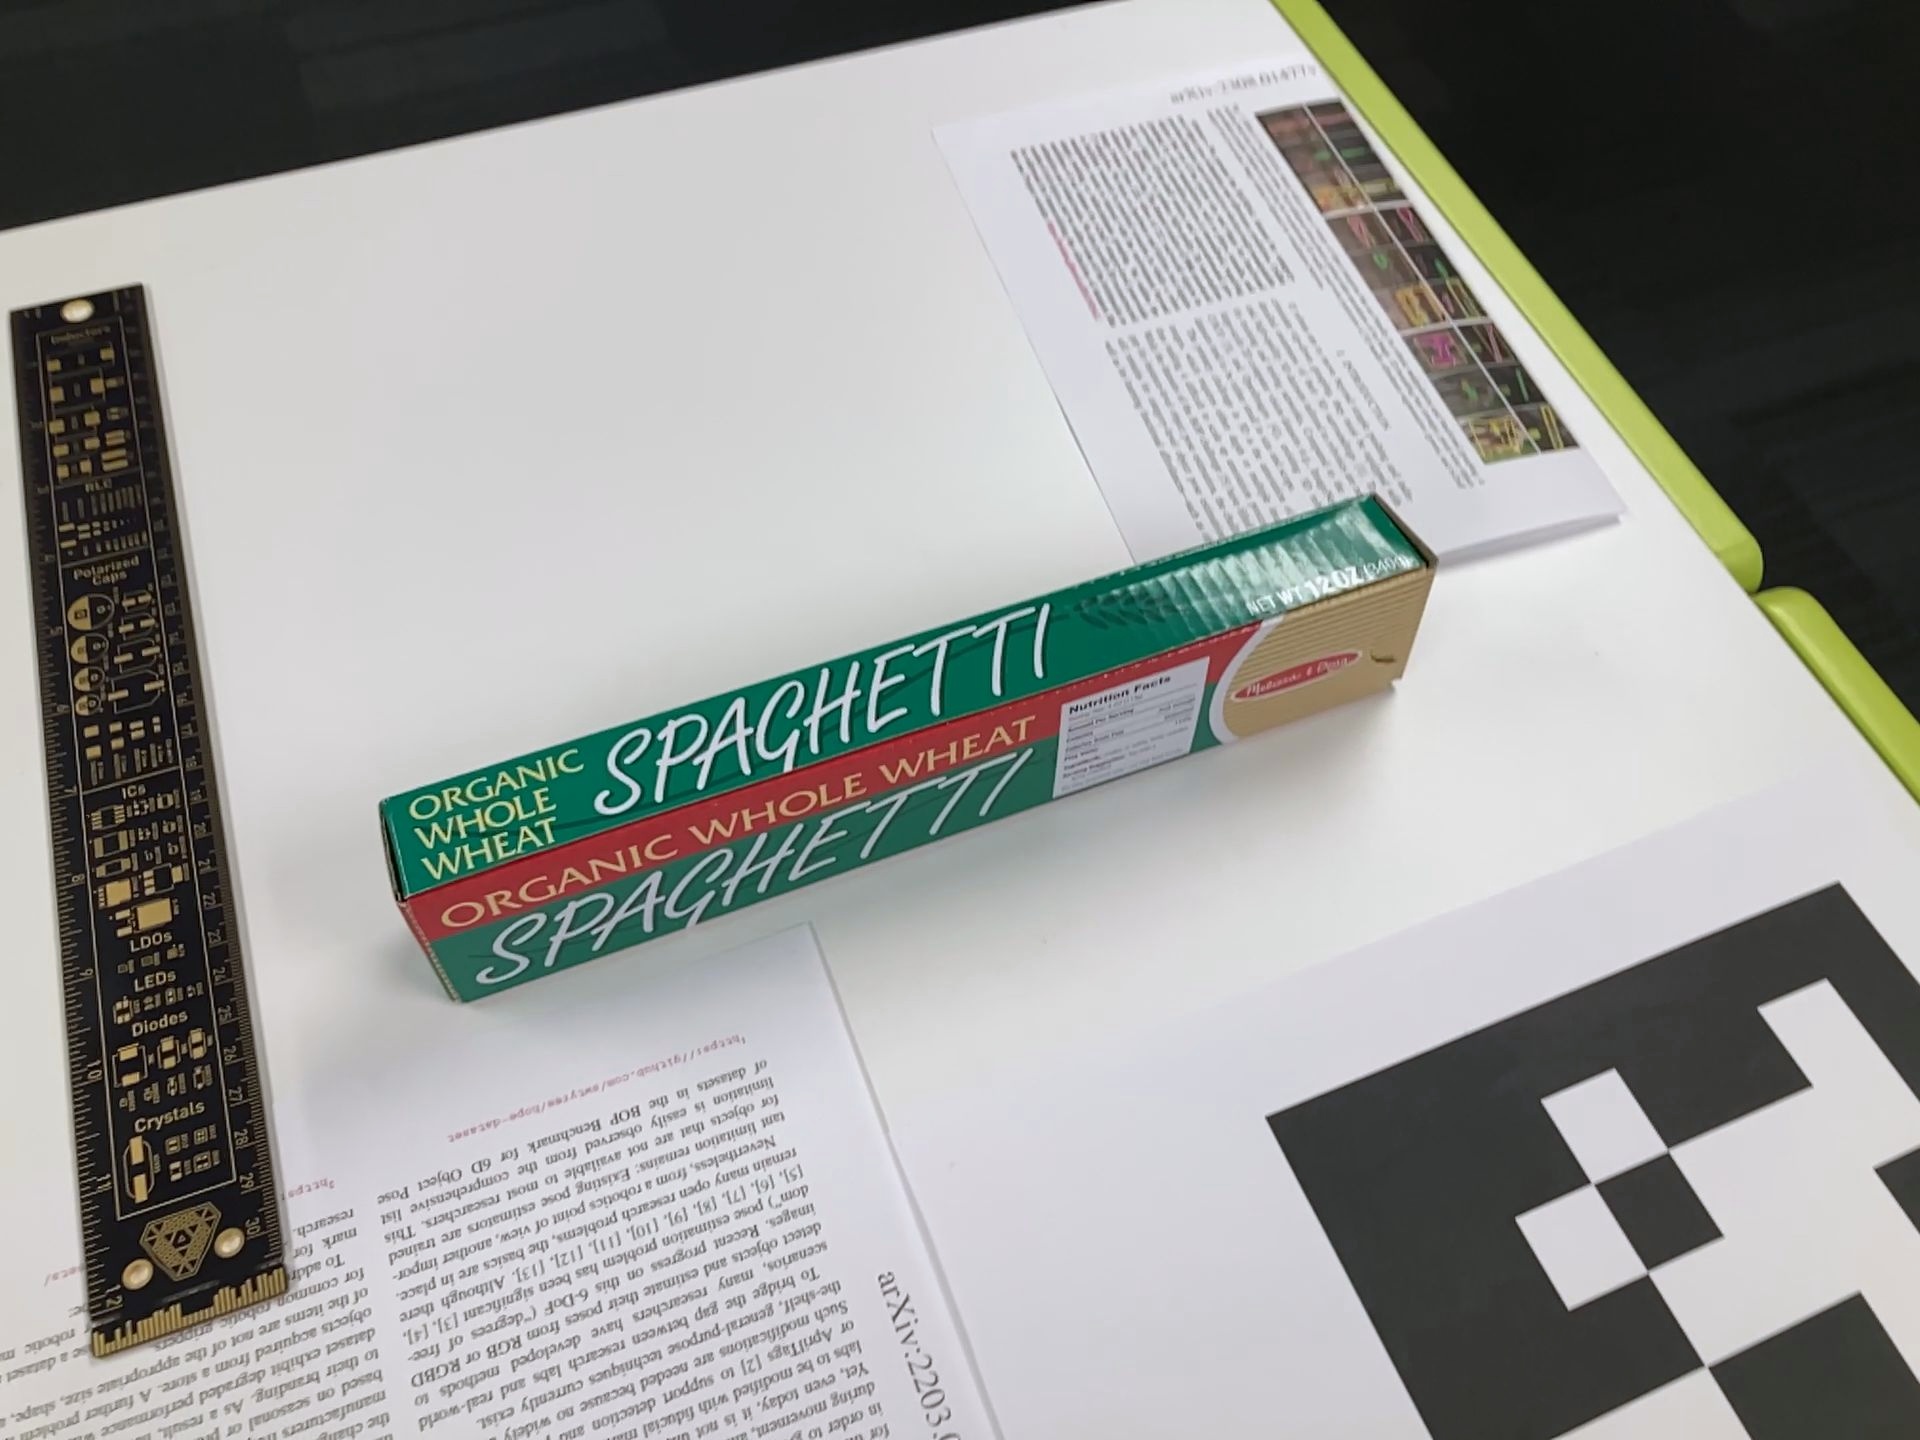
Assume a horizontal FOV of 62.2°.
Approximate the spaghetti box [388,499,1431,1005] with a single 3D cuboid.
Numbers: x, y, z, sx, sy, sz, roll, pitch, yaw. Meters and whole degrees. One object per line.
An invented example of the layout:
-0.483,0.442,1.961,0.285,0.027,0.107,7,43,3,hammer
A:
-0.006,0.005,0.381,0.250,0.050,0.028,-18,55,-13,spaghetti box
